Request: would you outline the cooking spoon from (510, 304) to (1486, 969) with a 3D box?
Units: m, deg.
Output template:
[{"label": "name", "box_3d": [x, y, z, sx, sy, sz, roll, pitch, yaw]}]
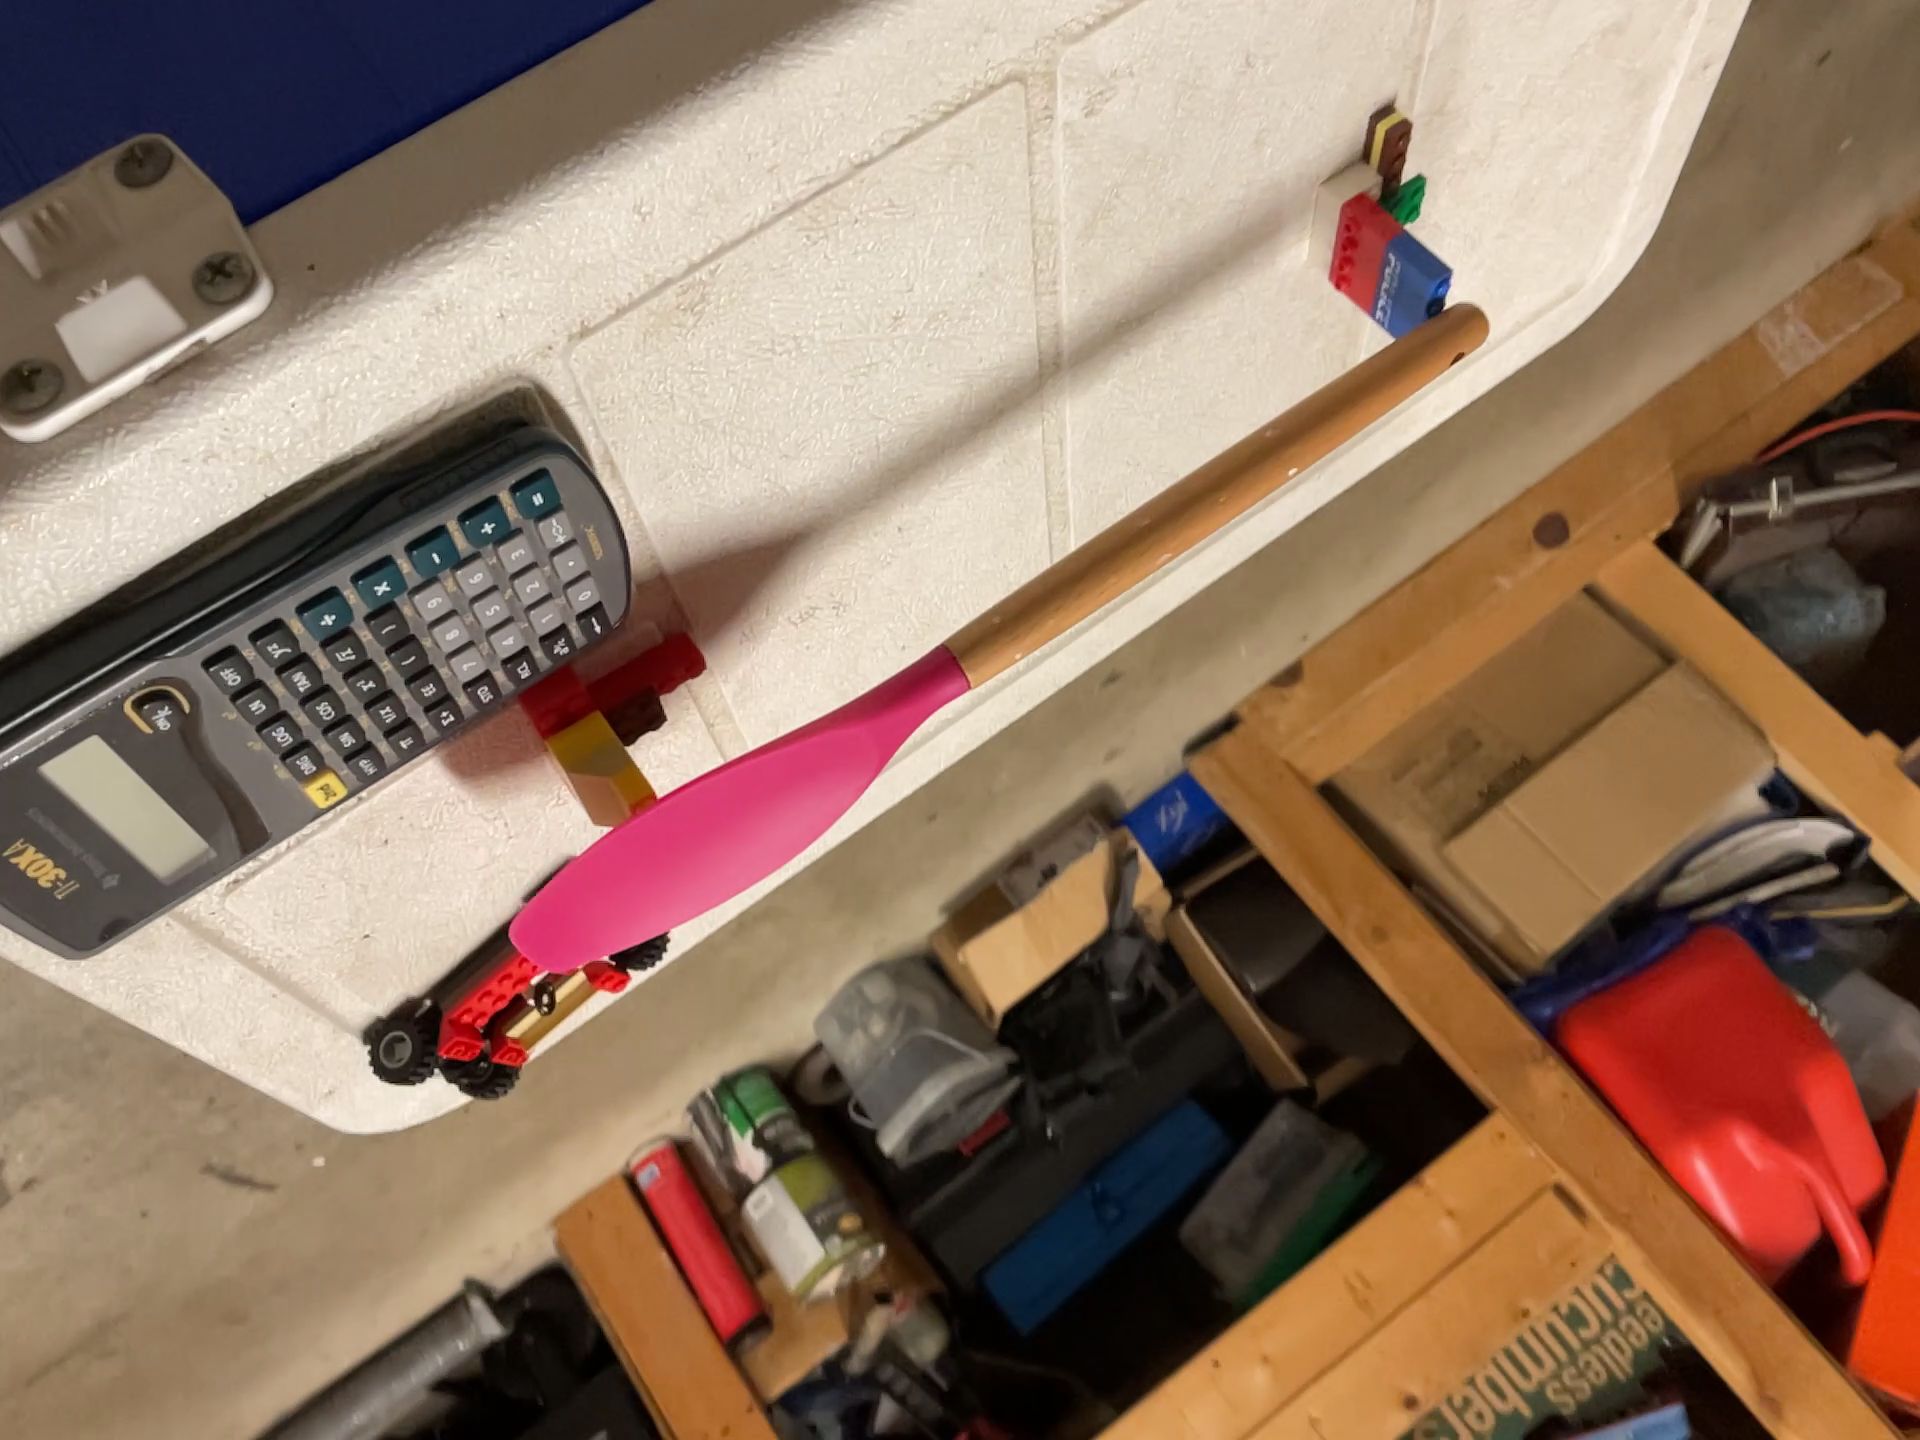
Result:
[{"label": "cooking spoon", "box_3d": [0.019, -0.029, 0.435, 0.319, 0.017, 0.068, -34, 156, -11]}]
